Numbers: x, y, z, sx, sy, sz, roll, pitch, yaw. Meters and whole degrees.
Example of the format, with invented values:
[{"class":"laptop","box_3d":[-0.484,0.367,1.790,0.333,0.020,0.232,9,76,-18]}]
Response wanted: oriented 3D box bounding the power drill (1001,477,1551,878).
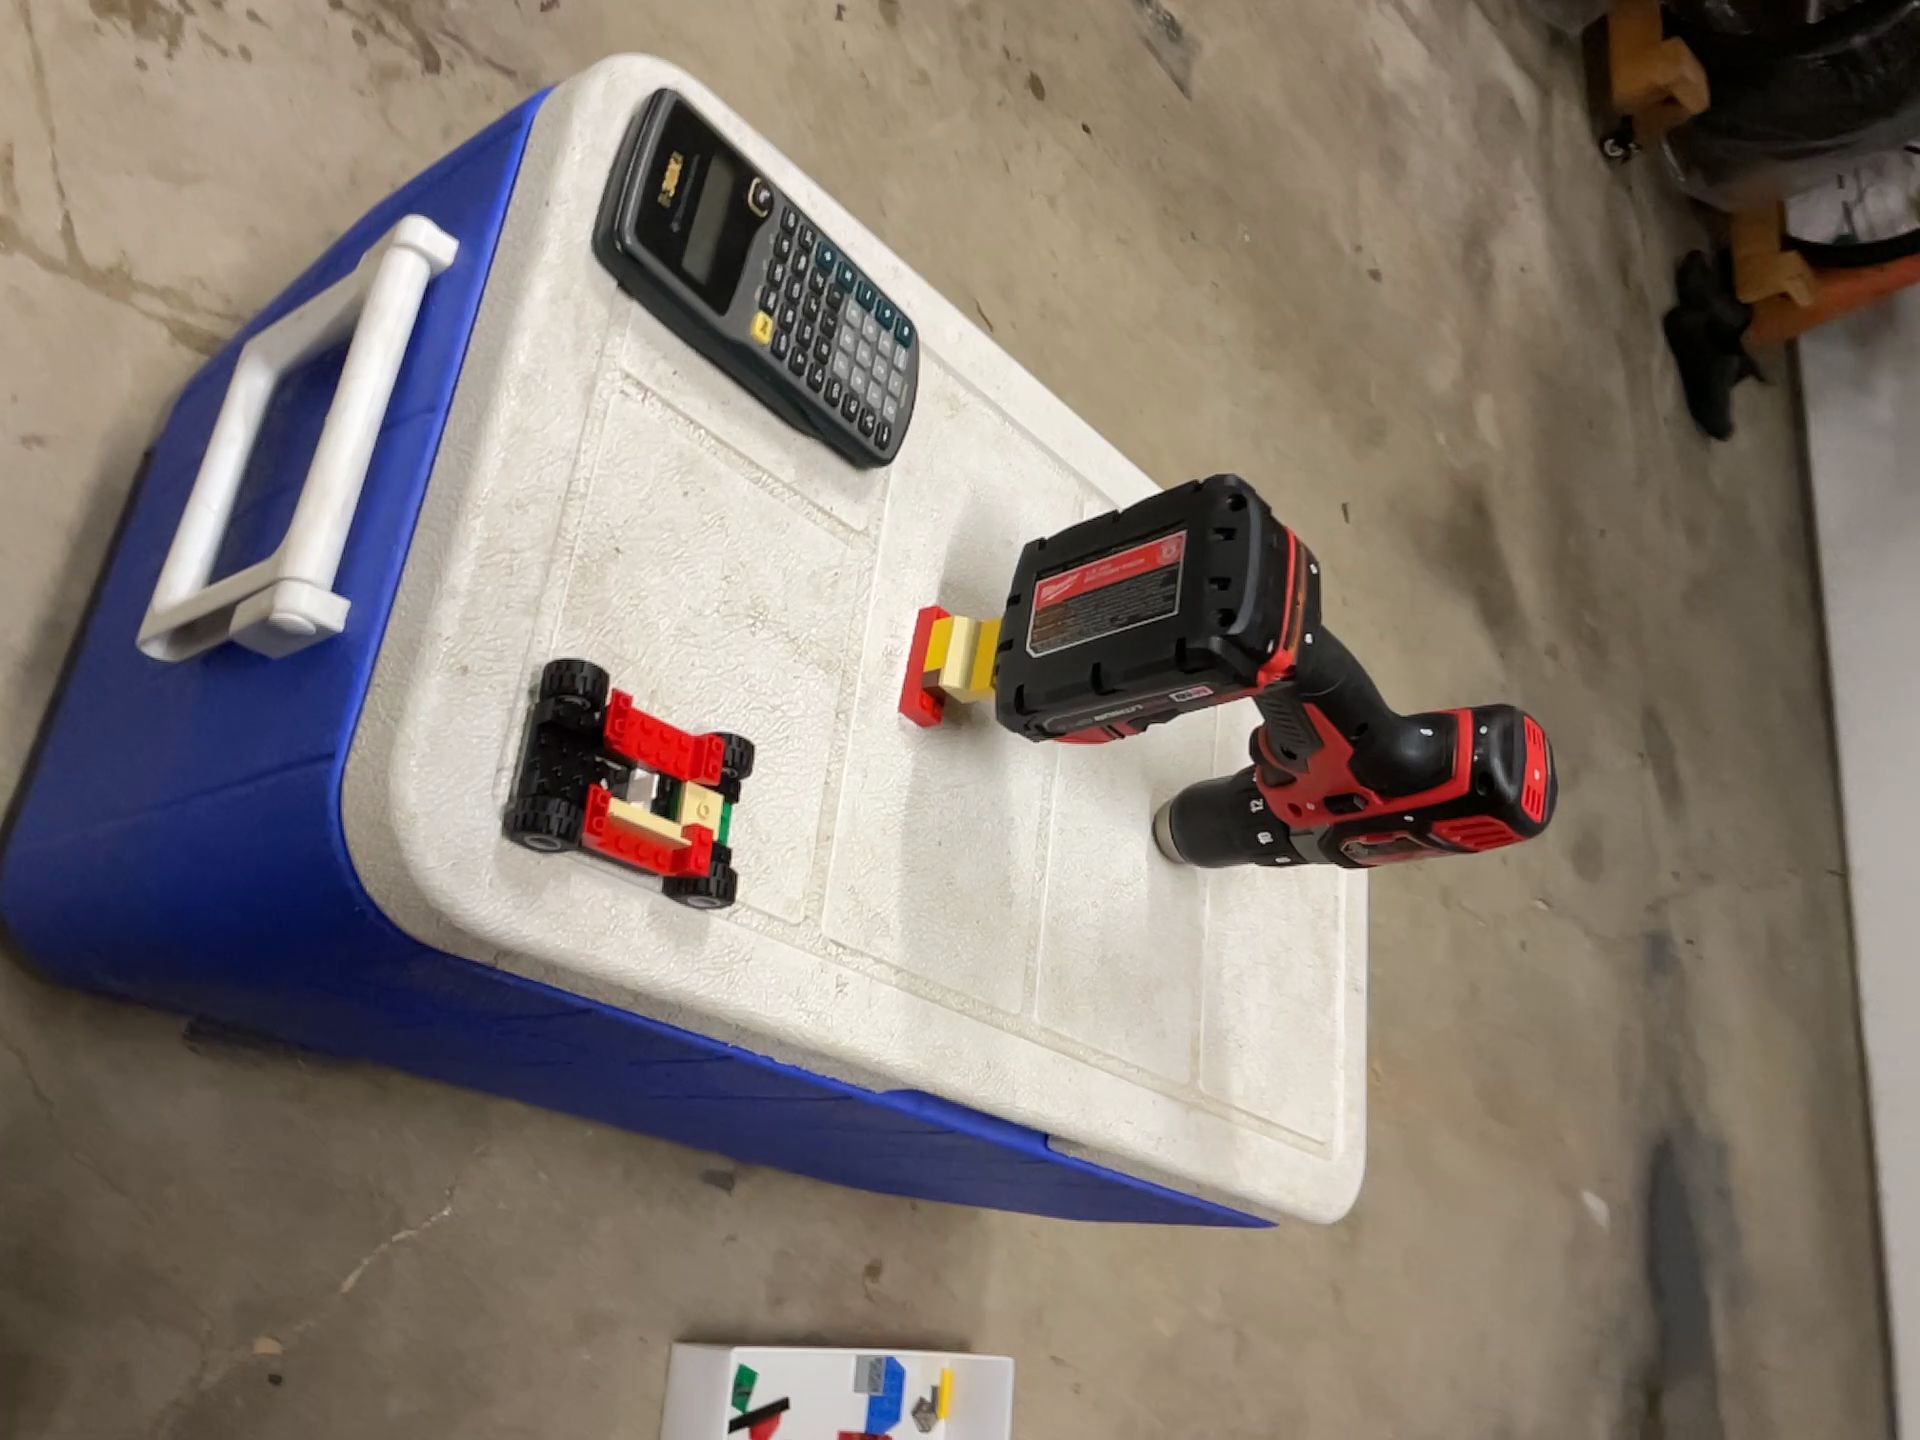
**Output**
[{"class":"power drill","box_3d":[0.116,0.005,0.677,0.226,0.187,0.080,31,56,-37]}]
